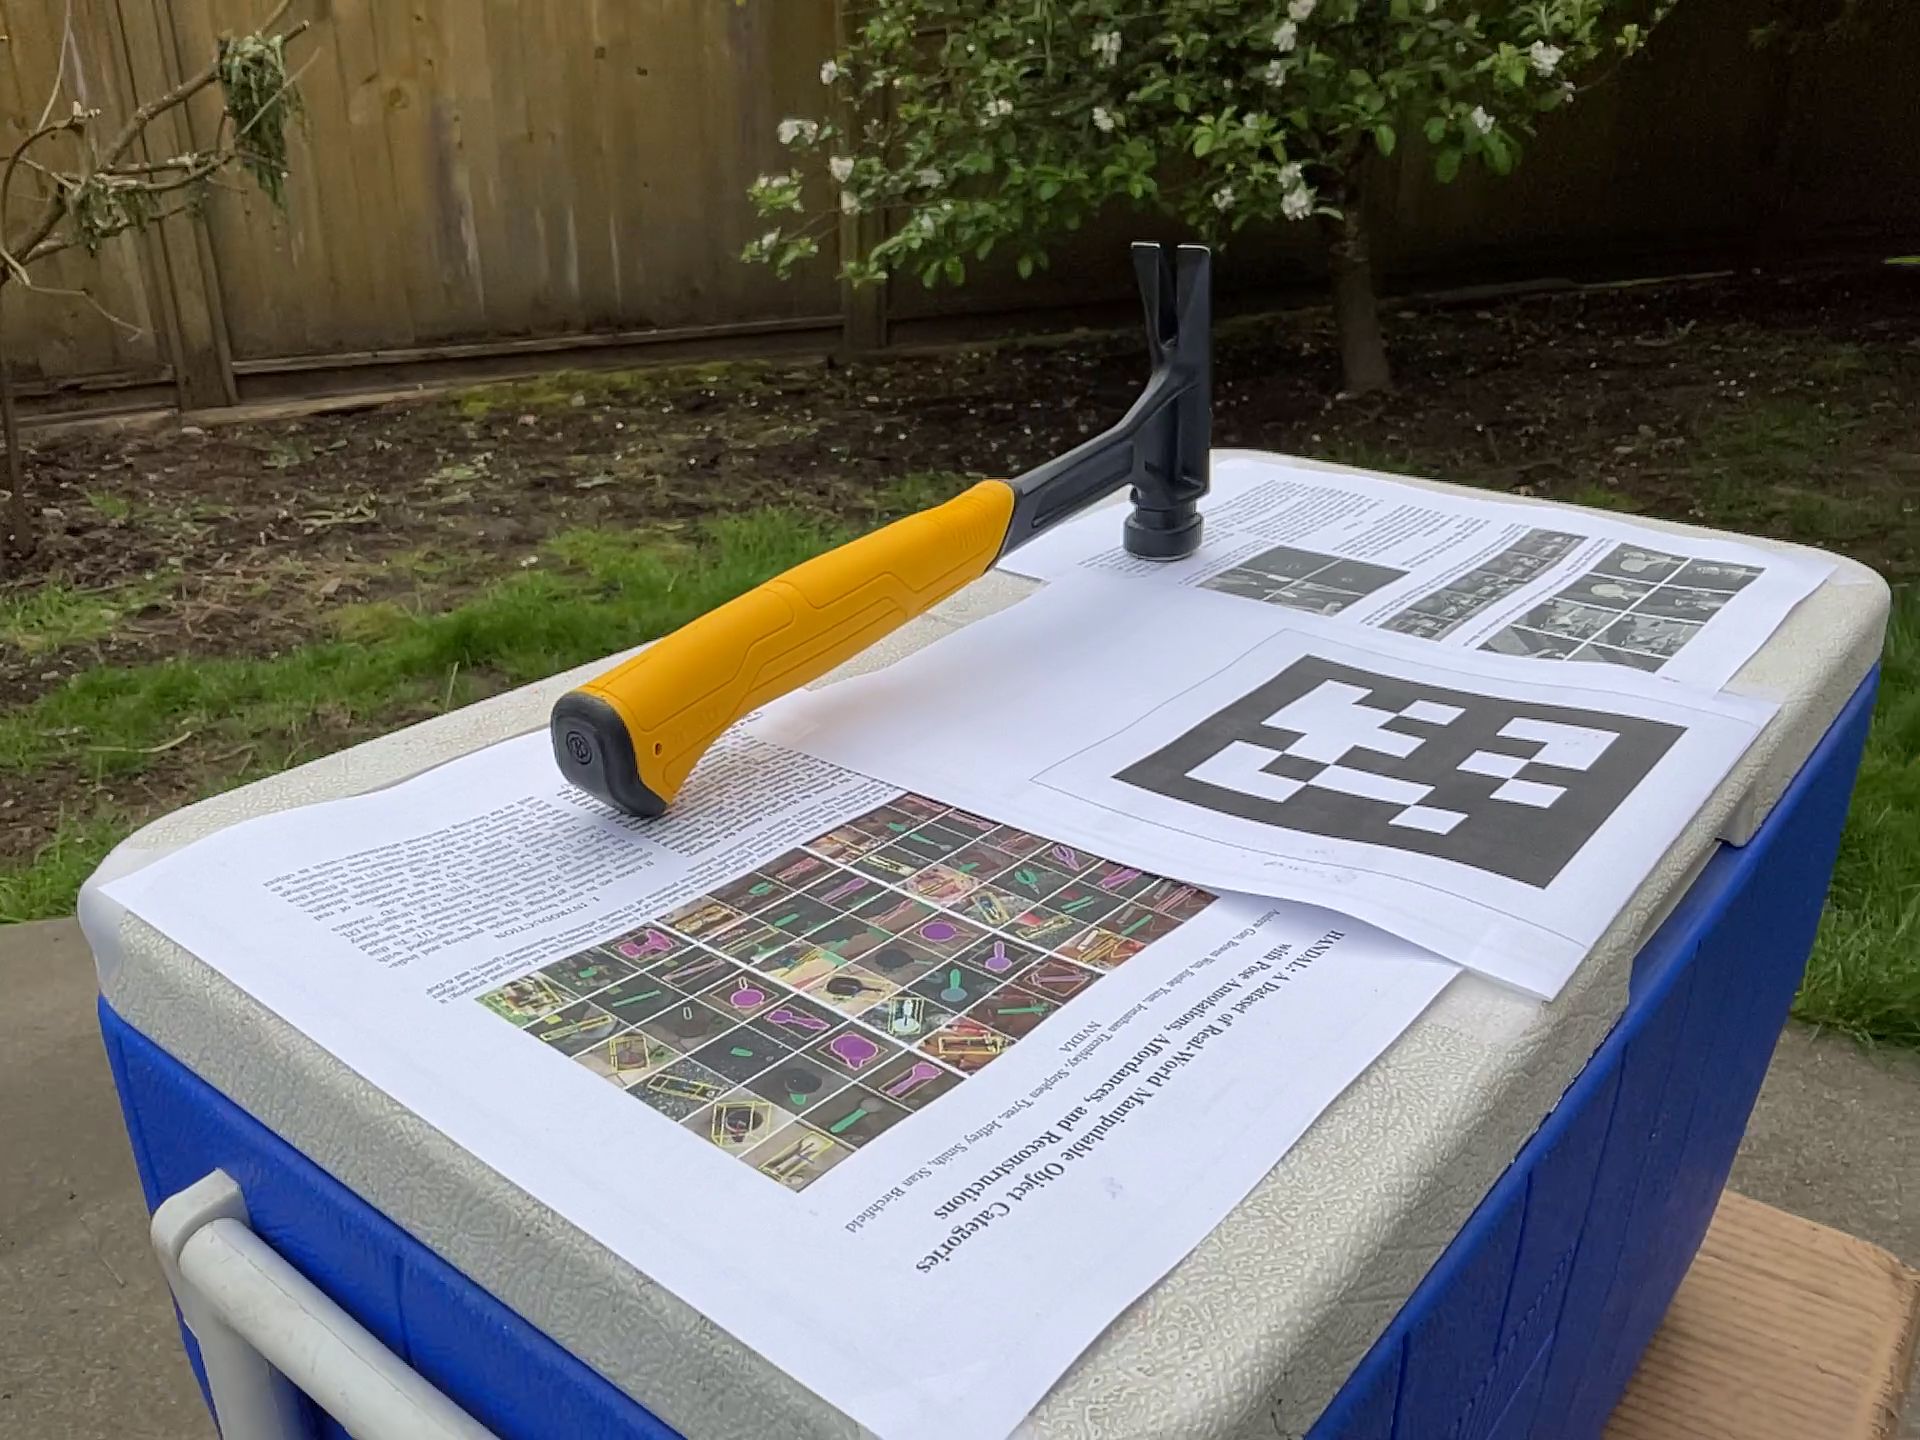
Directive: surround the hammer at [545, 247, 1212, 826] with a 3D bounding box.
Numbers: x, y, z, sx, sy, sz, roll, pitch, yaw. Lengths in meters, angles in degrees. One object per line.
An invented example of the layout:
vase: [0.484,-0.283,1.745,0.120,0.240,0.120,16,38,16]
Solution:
hammer: [-0.005,-0.063,0.540,0.034,0.127,0.337,16,34,32]
